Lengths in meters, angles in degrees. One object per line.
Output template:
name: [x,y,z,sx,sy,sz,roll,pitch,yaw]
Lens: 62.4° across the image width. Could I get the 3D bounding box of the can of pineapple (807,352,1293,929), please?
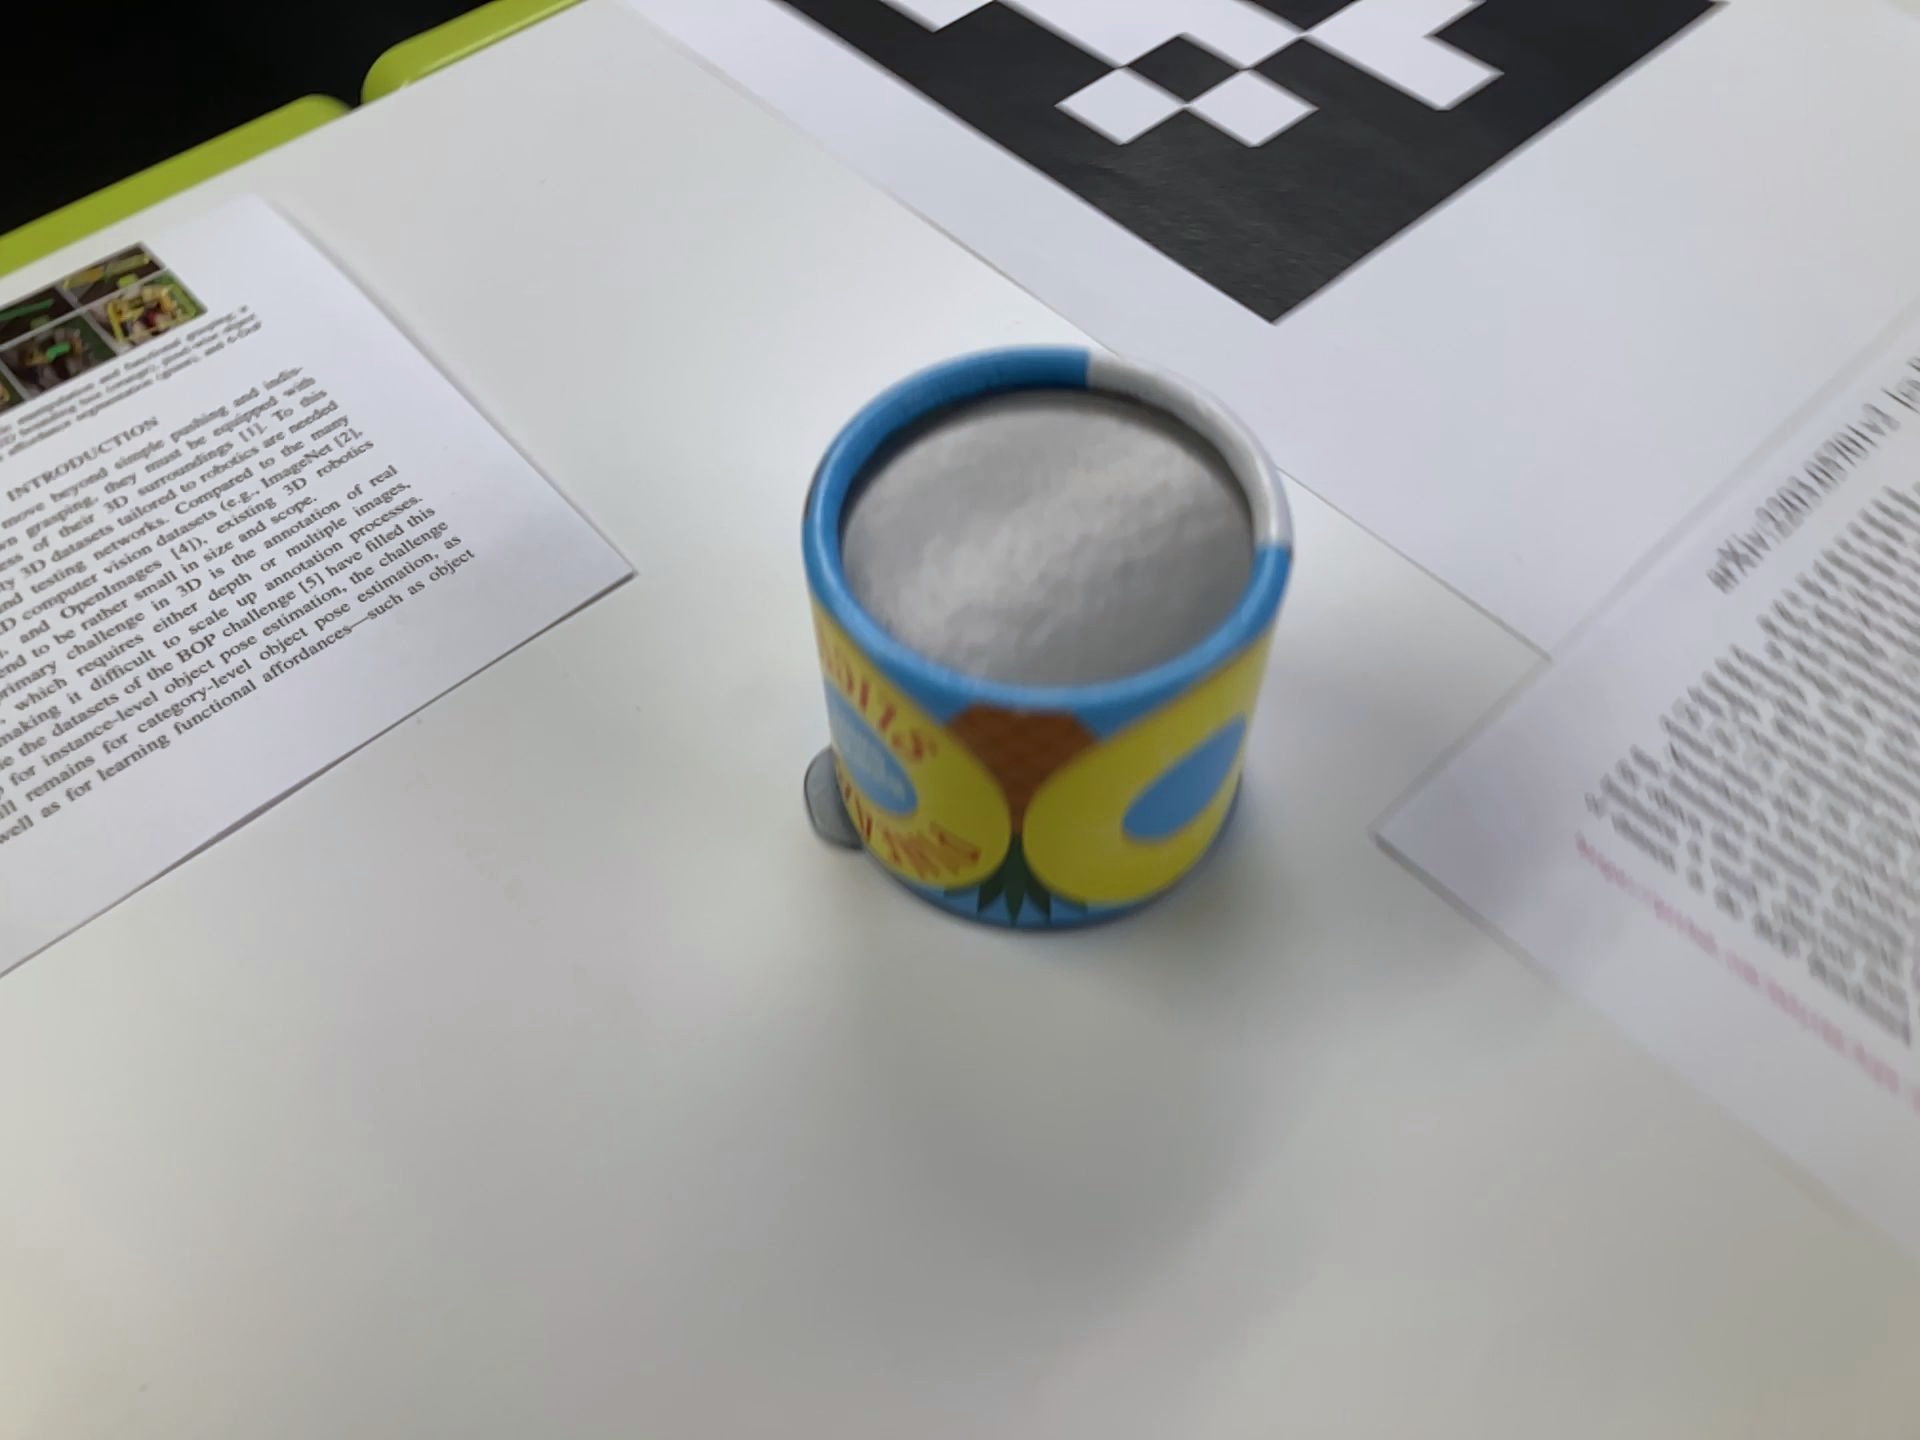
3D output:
can of pineapple: [0.011,-0.010,0.234,0.071,0.058,0.071,-1,55,1]
